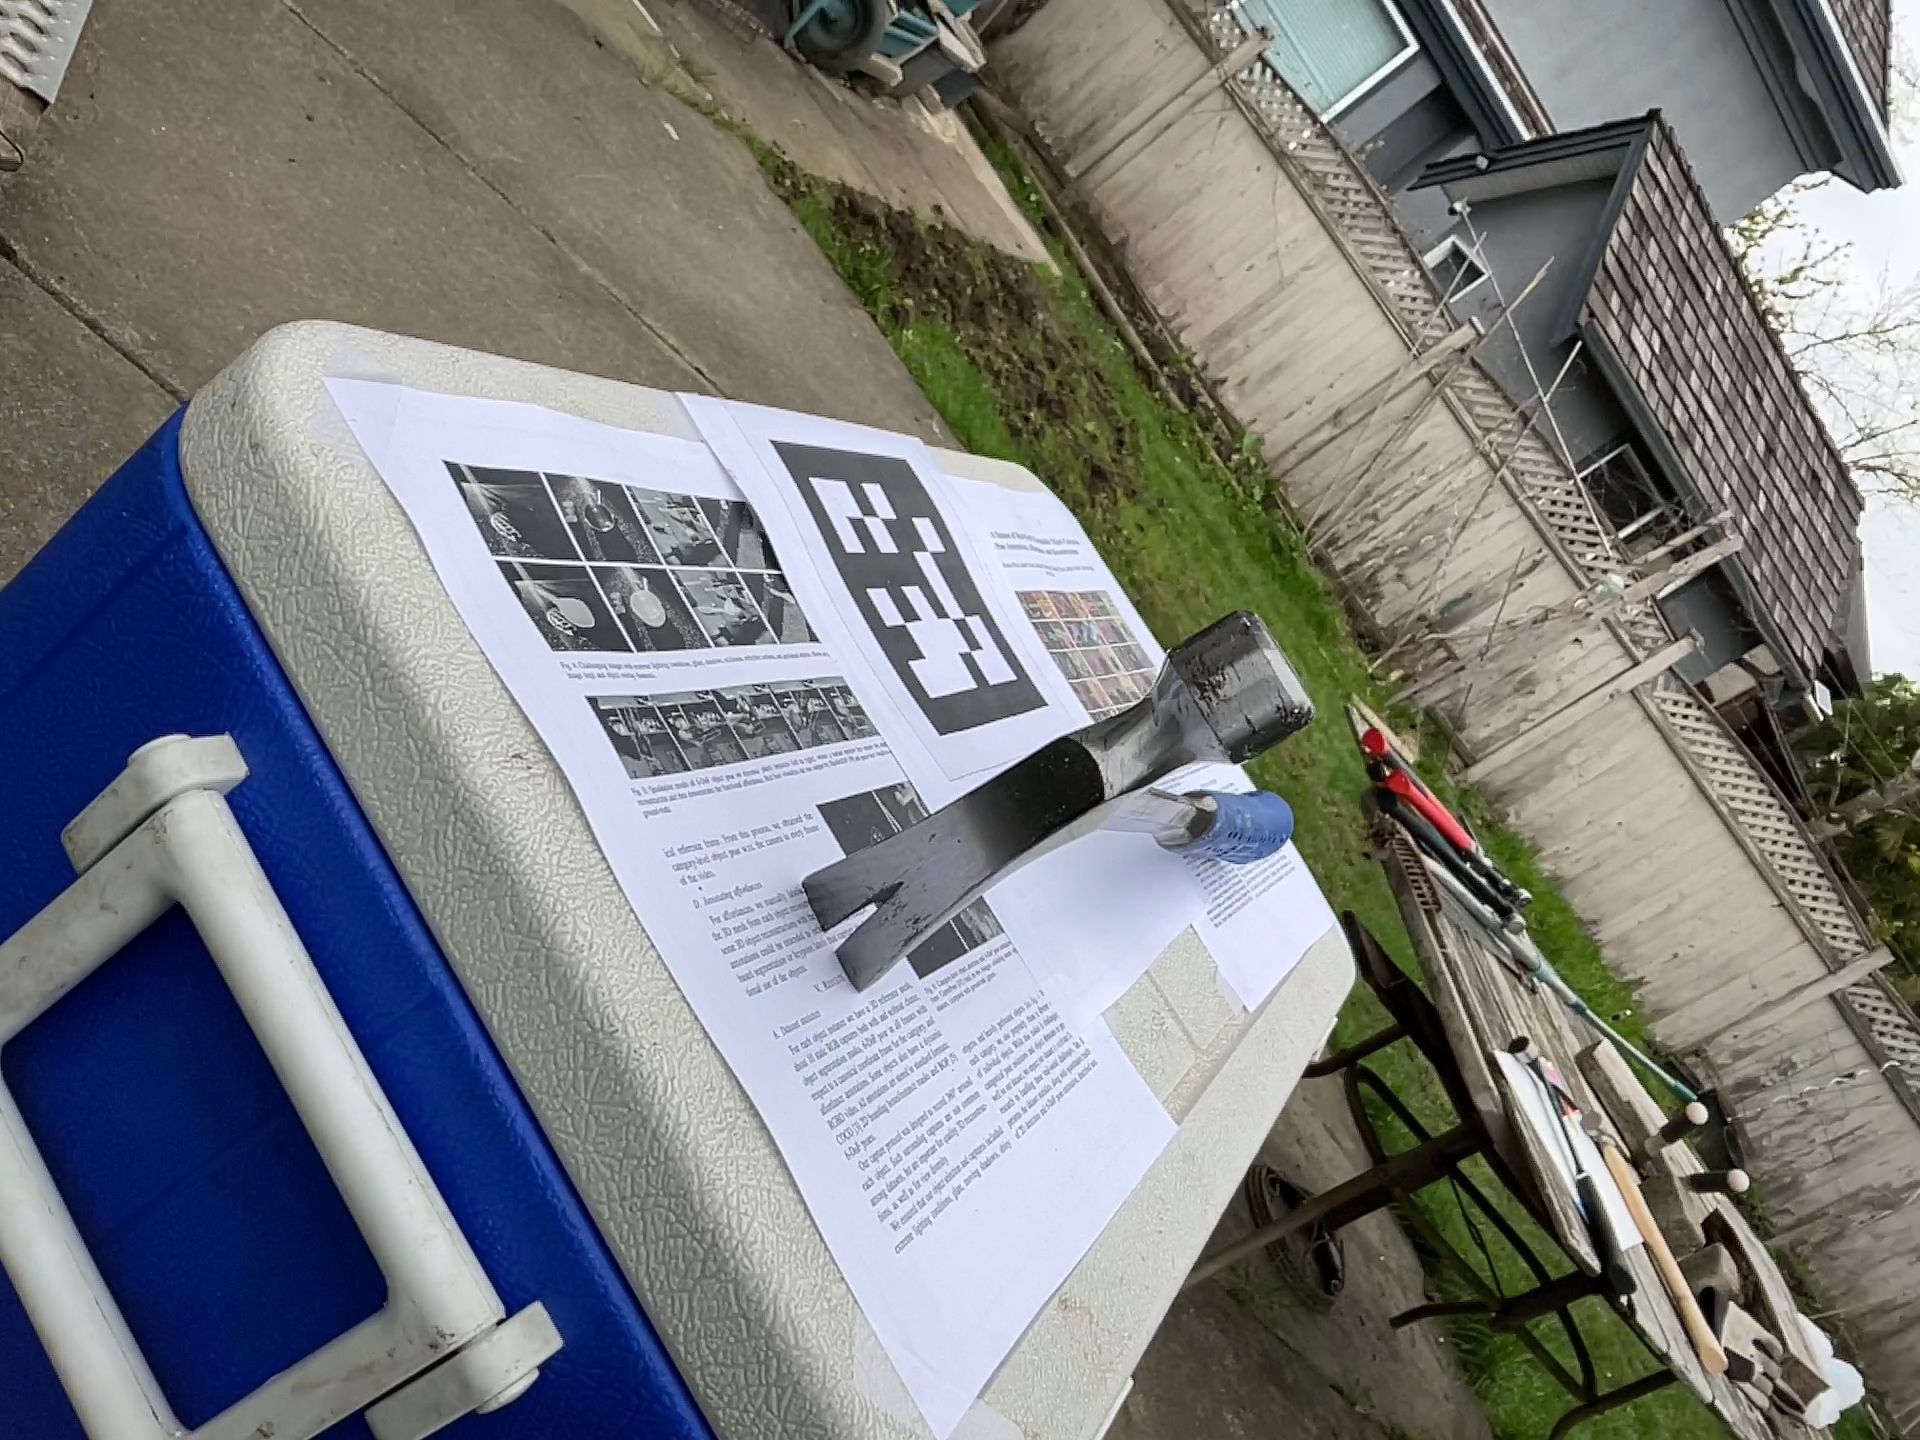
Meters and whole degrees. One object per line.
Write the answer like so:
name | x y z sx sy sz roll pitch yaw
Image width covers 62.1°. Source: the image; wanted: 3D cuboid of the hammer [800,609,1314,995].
hammer | 0.074 0.038 0.580 0.035 0.144 0.405 61 12 13
